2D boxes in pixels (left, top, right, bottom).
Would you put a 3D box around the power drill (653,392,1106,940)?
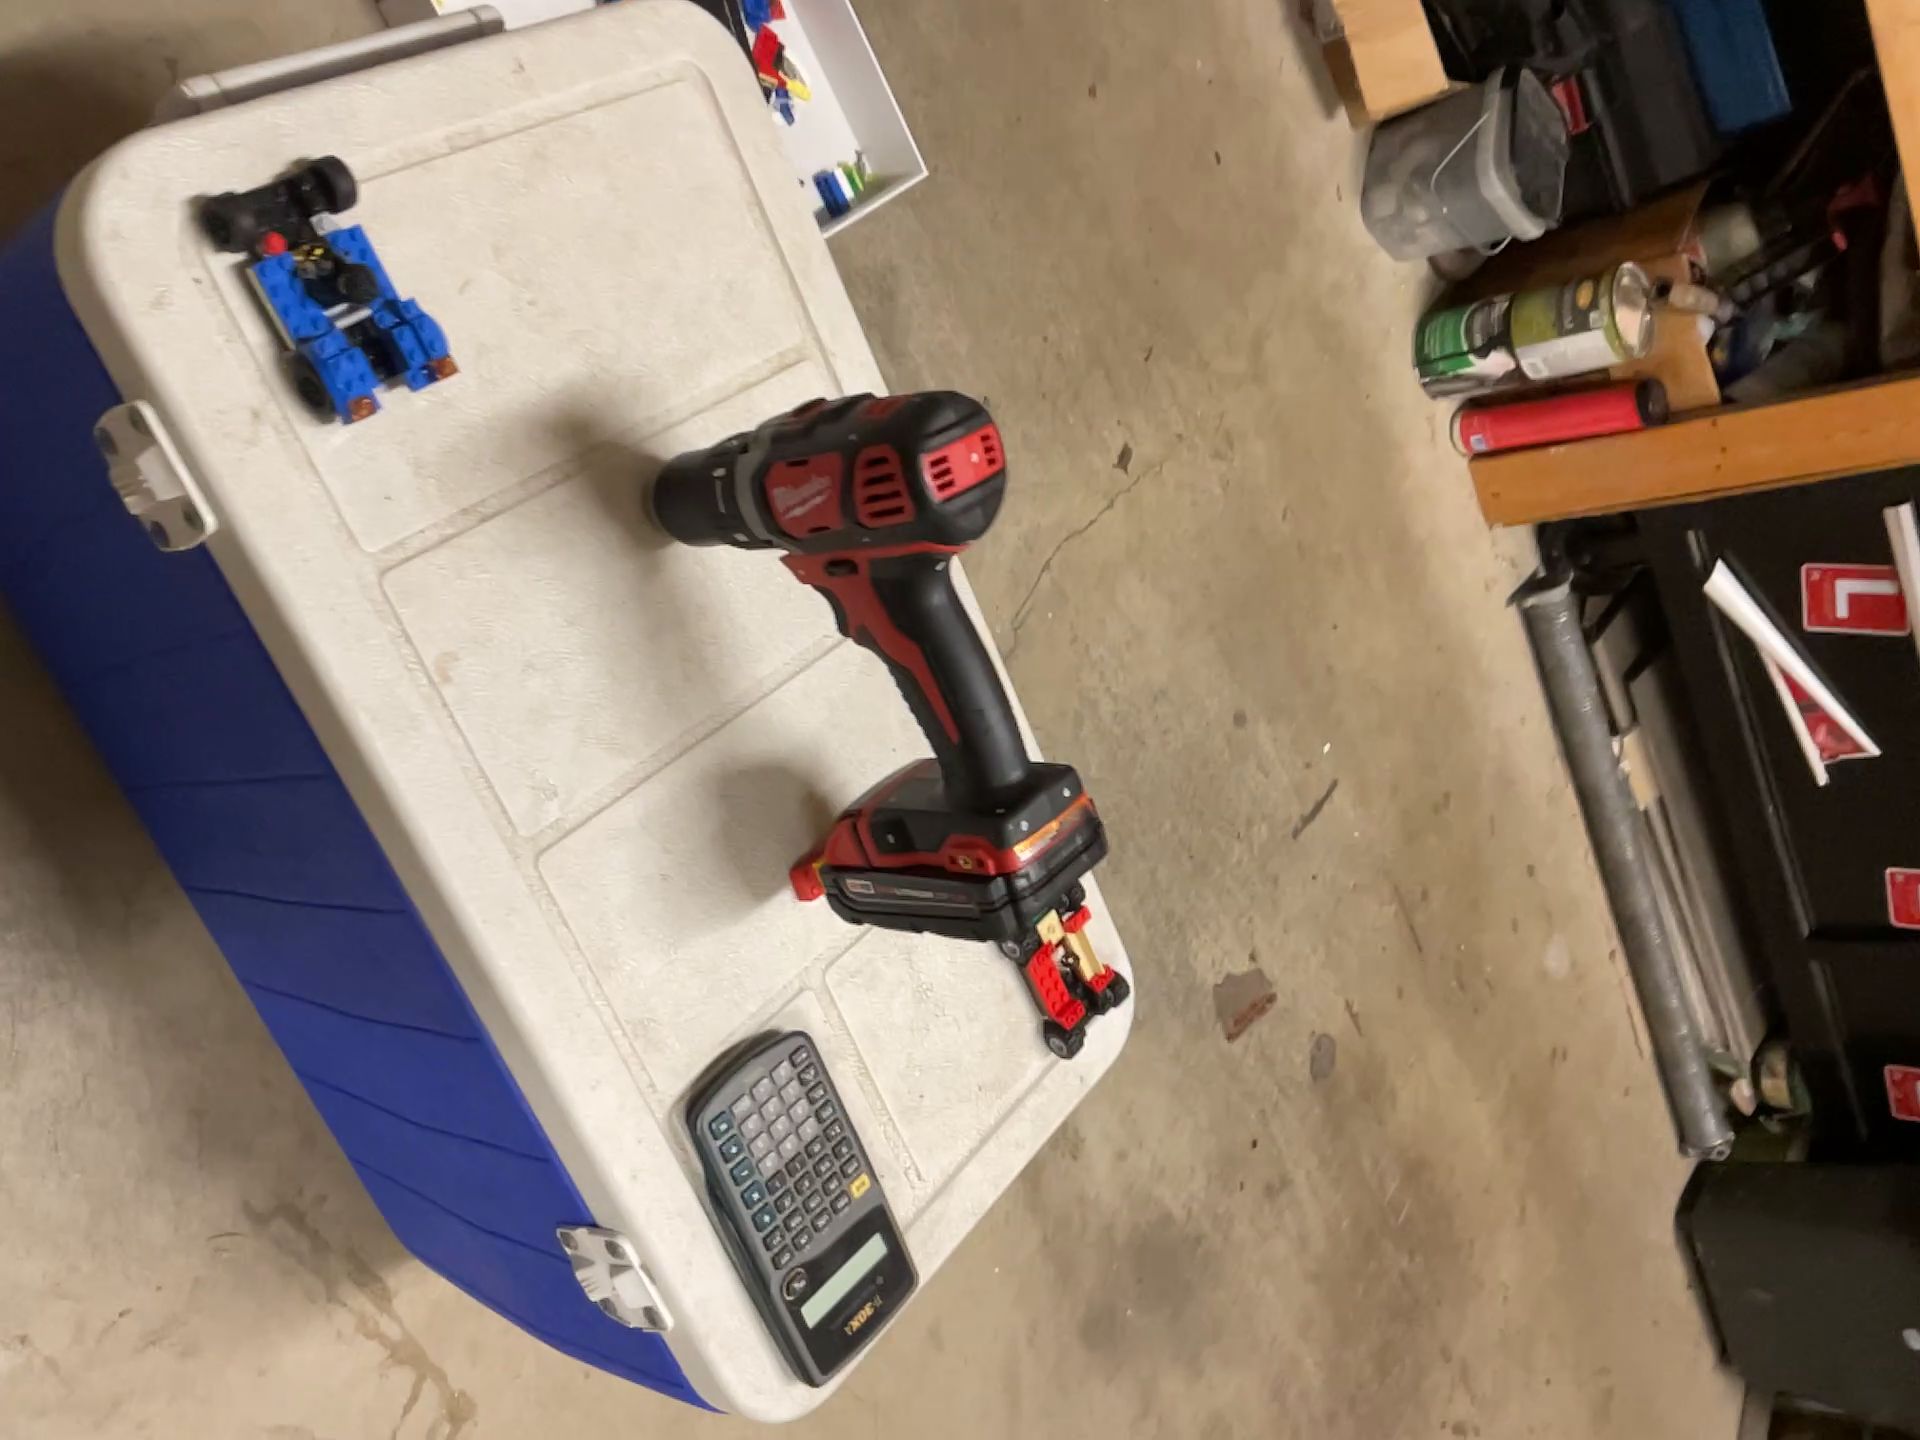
[{"bbox_3d":[-0.042,-0.027,0.694,0.080,0.188,0.226,-33,115,-40],"label":"power drill"}]
